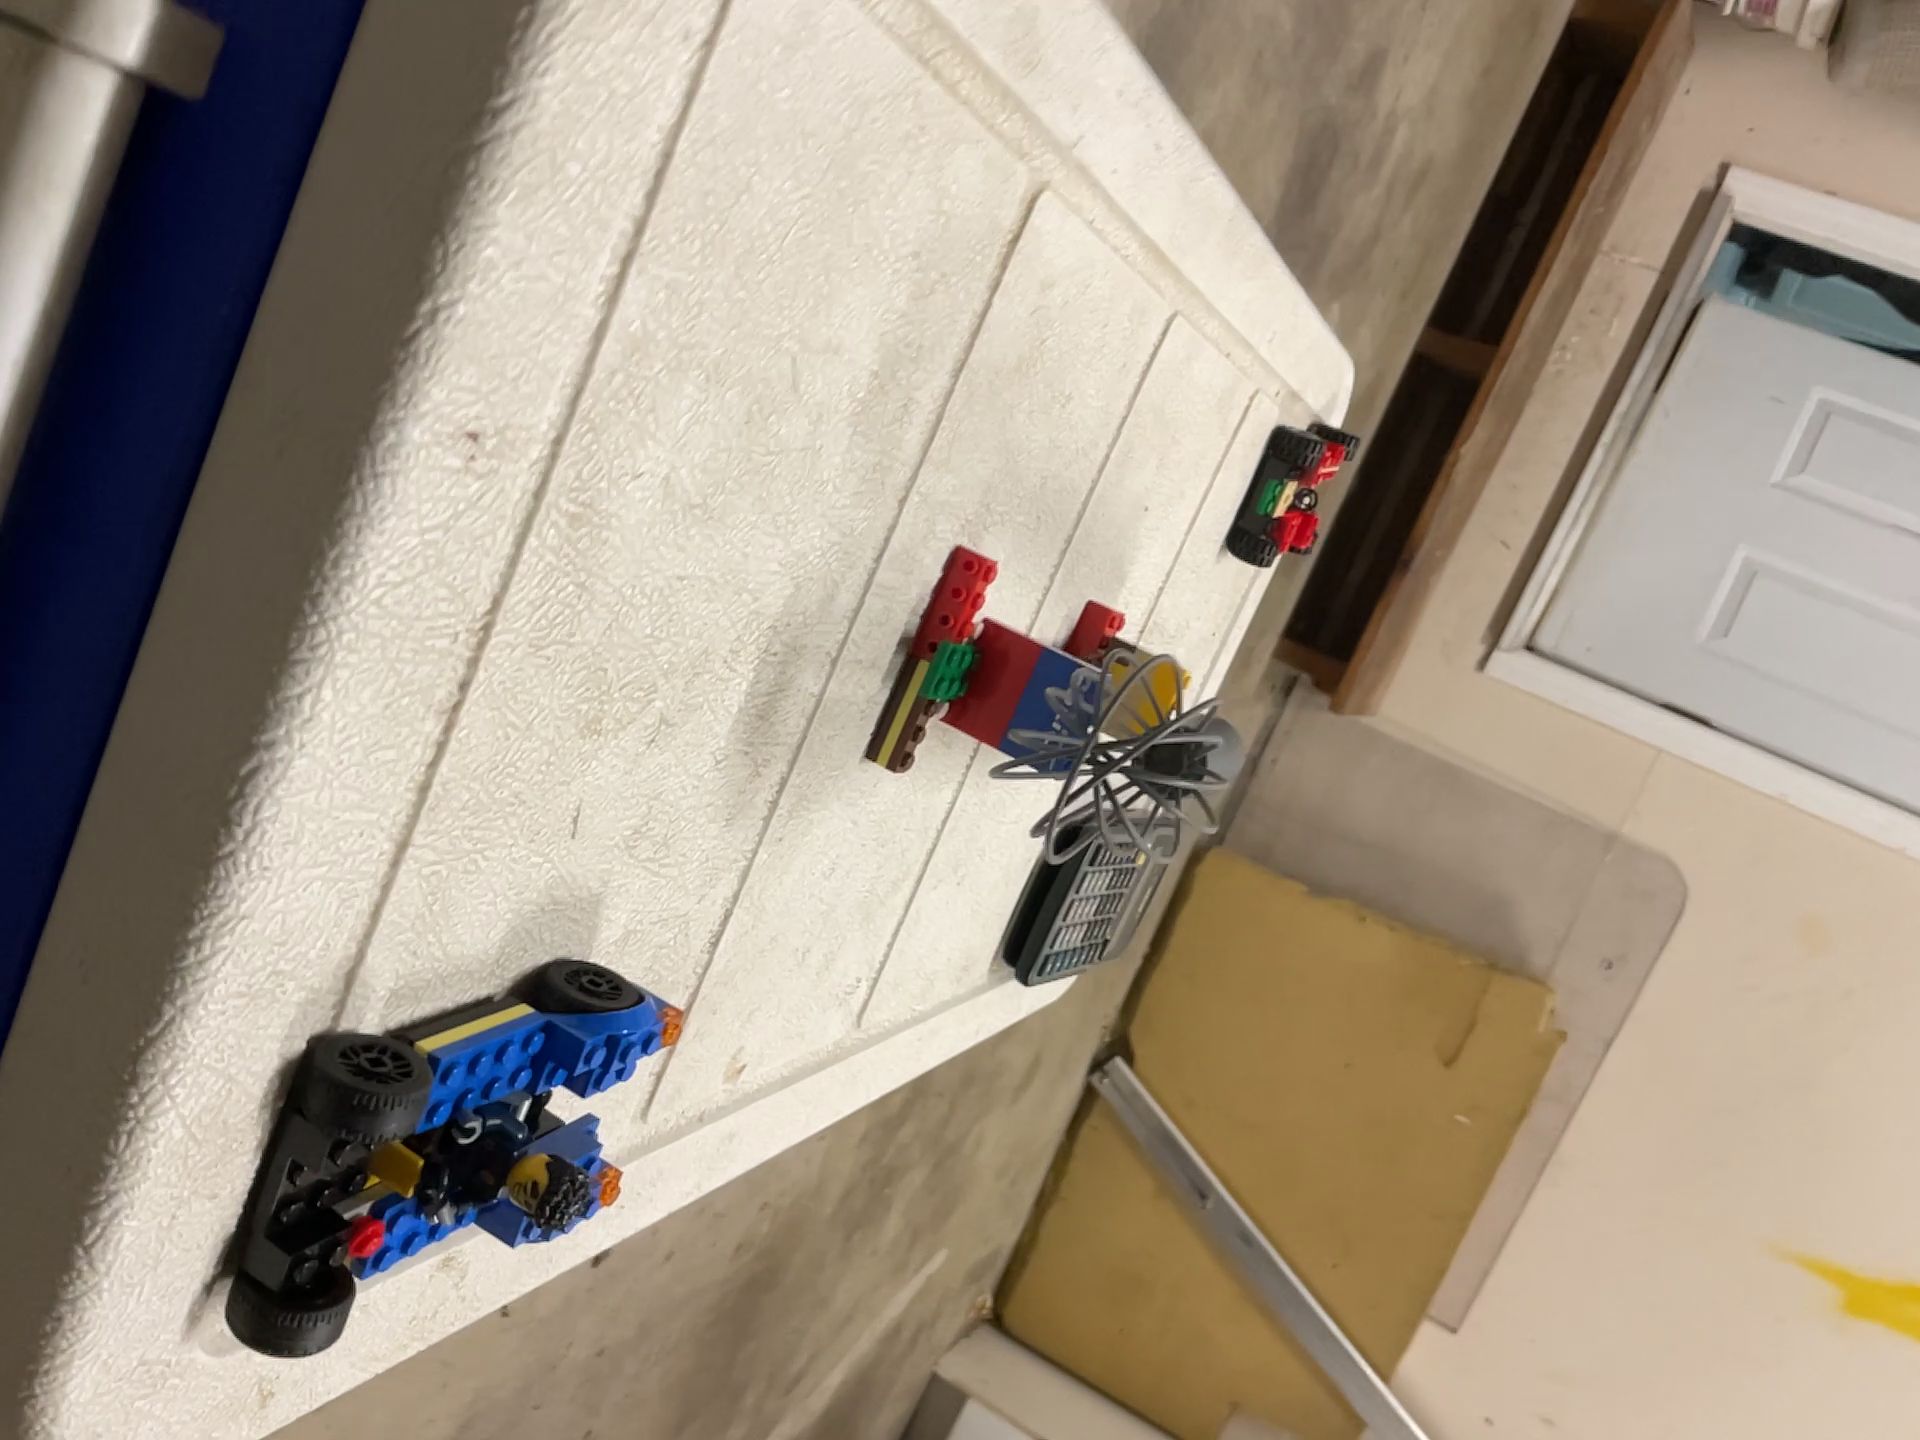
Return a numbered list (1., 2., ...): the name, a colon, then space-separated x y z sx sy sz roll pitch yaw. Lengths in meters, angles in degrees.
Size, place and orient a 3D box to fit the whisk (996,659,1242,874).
1. whisk: 0.058 0.013 0.464 0.055 0.055 0.239 -63 166 7
